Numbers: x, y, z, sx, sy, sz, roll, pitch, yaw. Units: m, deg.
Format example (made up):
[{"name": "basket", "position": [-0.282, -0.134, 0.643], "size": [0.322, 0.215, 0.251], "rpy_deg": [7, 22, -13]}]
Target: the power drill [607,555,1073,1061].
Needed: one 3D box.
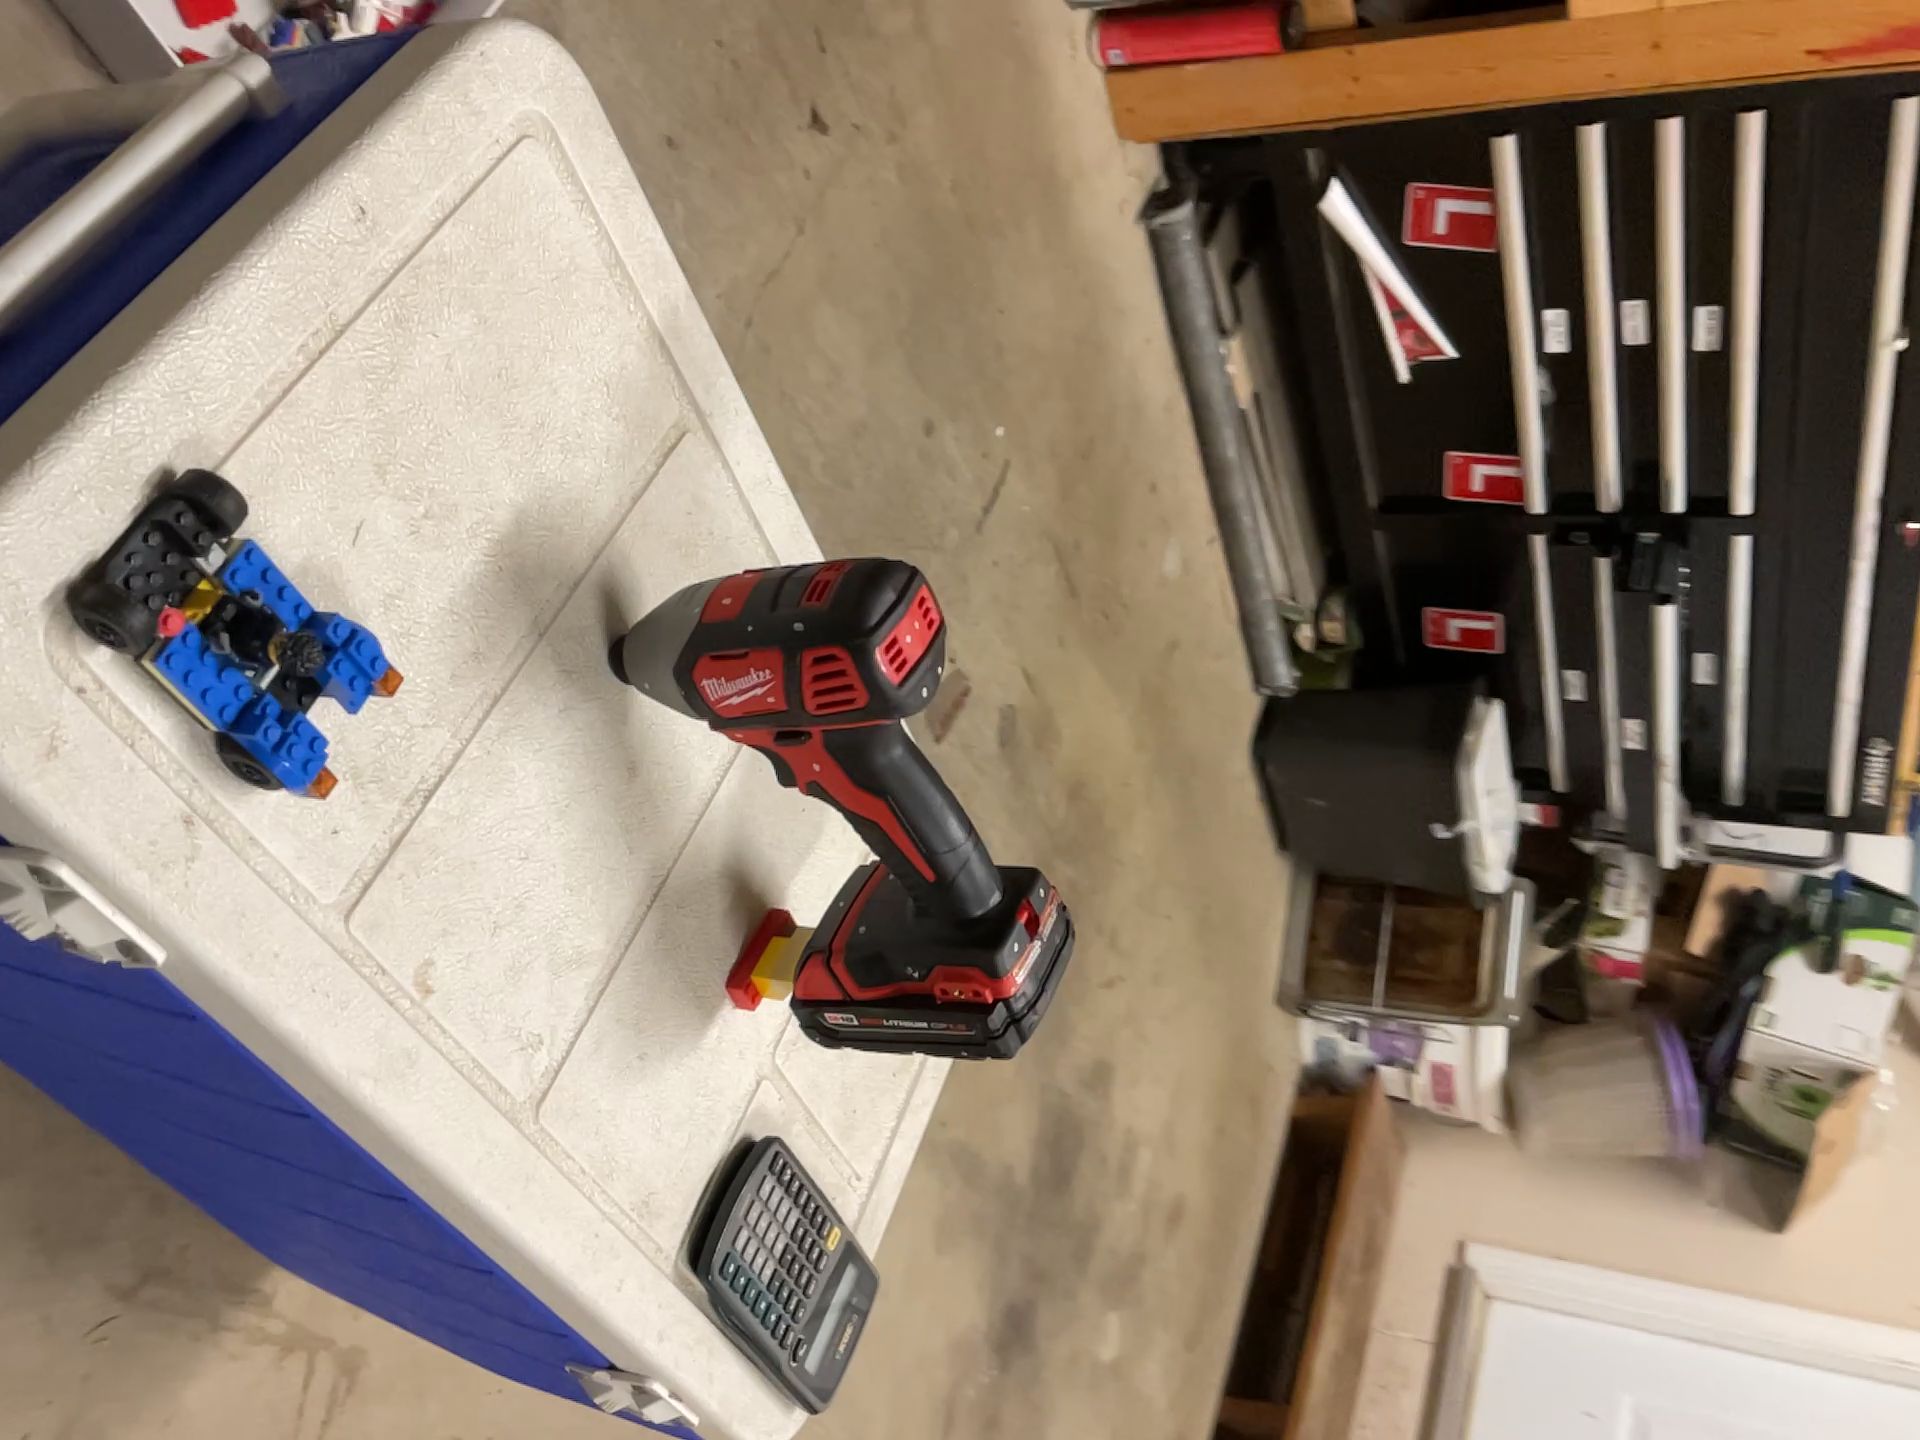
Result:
[{"name": "power drill", "position": [-0.049, 0.034, 0.650], "size": [0.079, 0.143, 0.219], "rpy_deg": [-59, 135, -43]}]
